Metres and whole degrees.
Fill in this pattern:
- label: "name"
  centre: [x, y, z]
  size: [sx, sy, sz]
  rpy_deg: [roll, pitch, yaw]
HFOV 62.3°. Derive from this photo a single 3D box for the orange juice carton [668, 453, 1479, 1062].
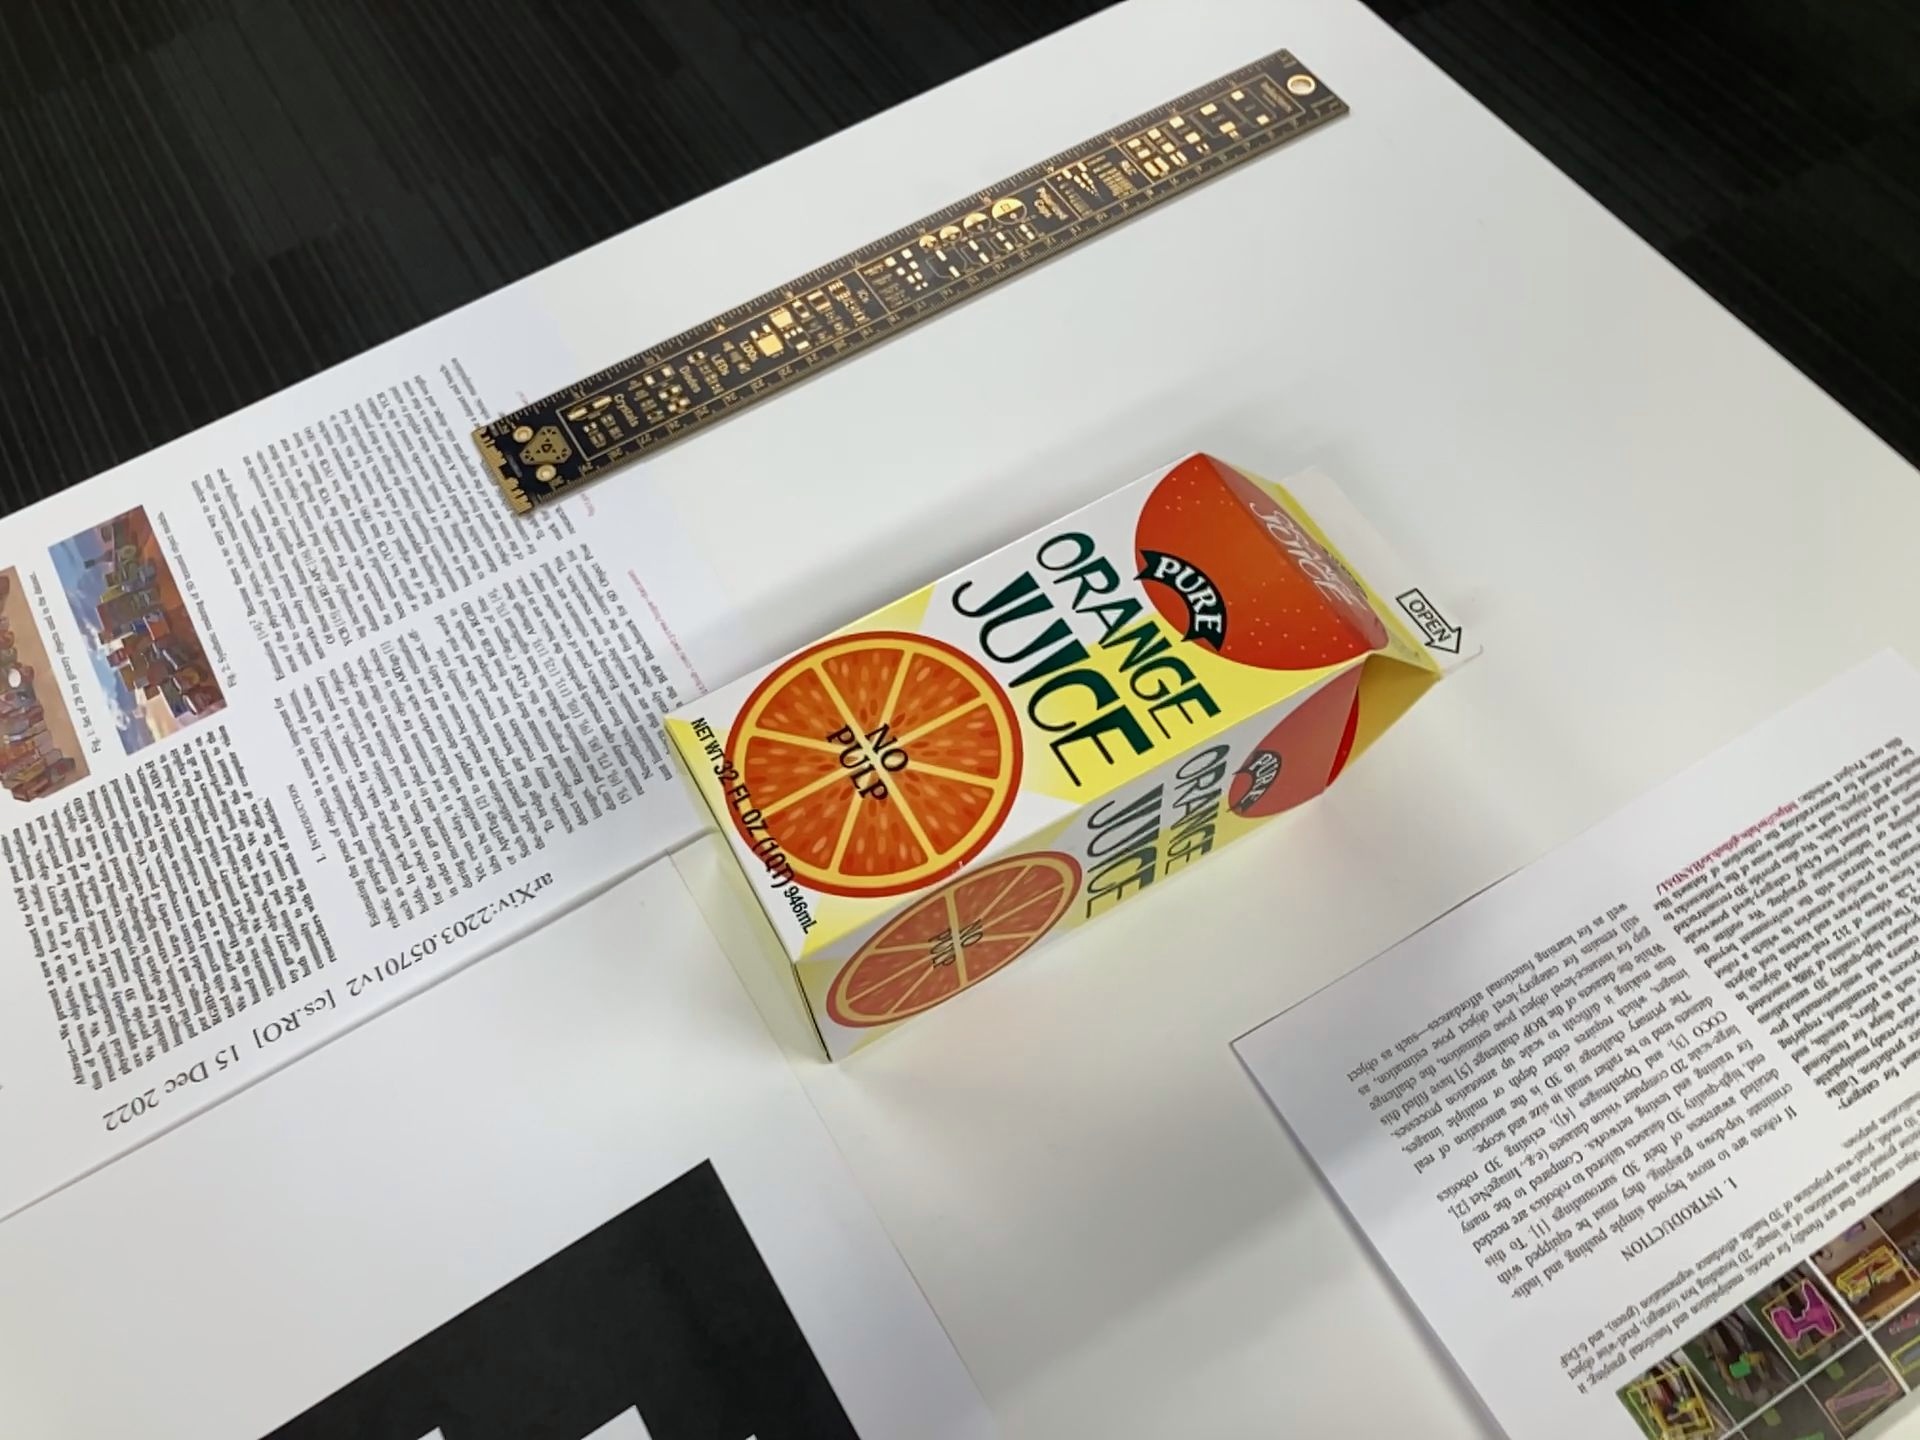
- label: "orange juice carton"
  centre: [0.032, 0.000, 0.403]
  size: [0.192, 0.073, 0.072]
  rpy_deg: [-28, 62, -11]
